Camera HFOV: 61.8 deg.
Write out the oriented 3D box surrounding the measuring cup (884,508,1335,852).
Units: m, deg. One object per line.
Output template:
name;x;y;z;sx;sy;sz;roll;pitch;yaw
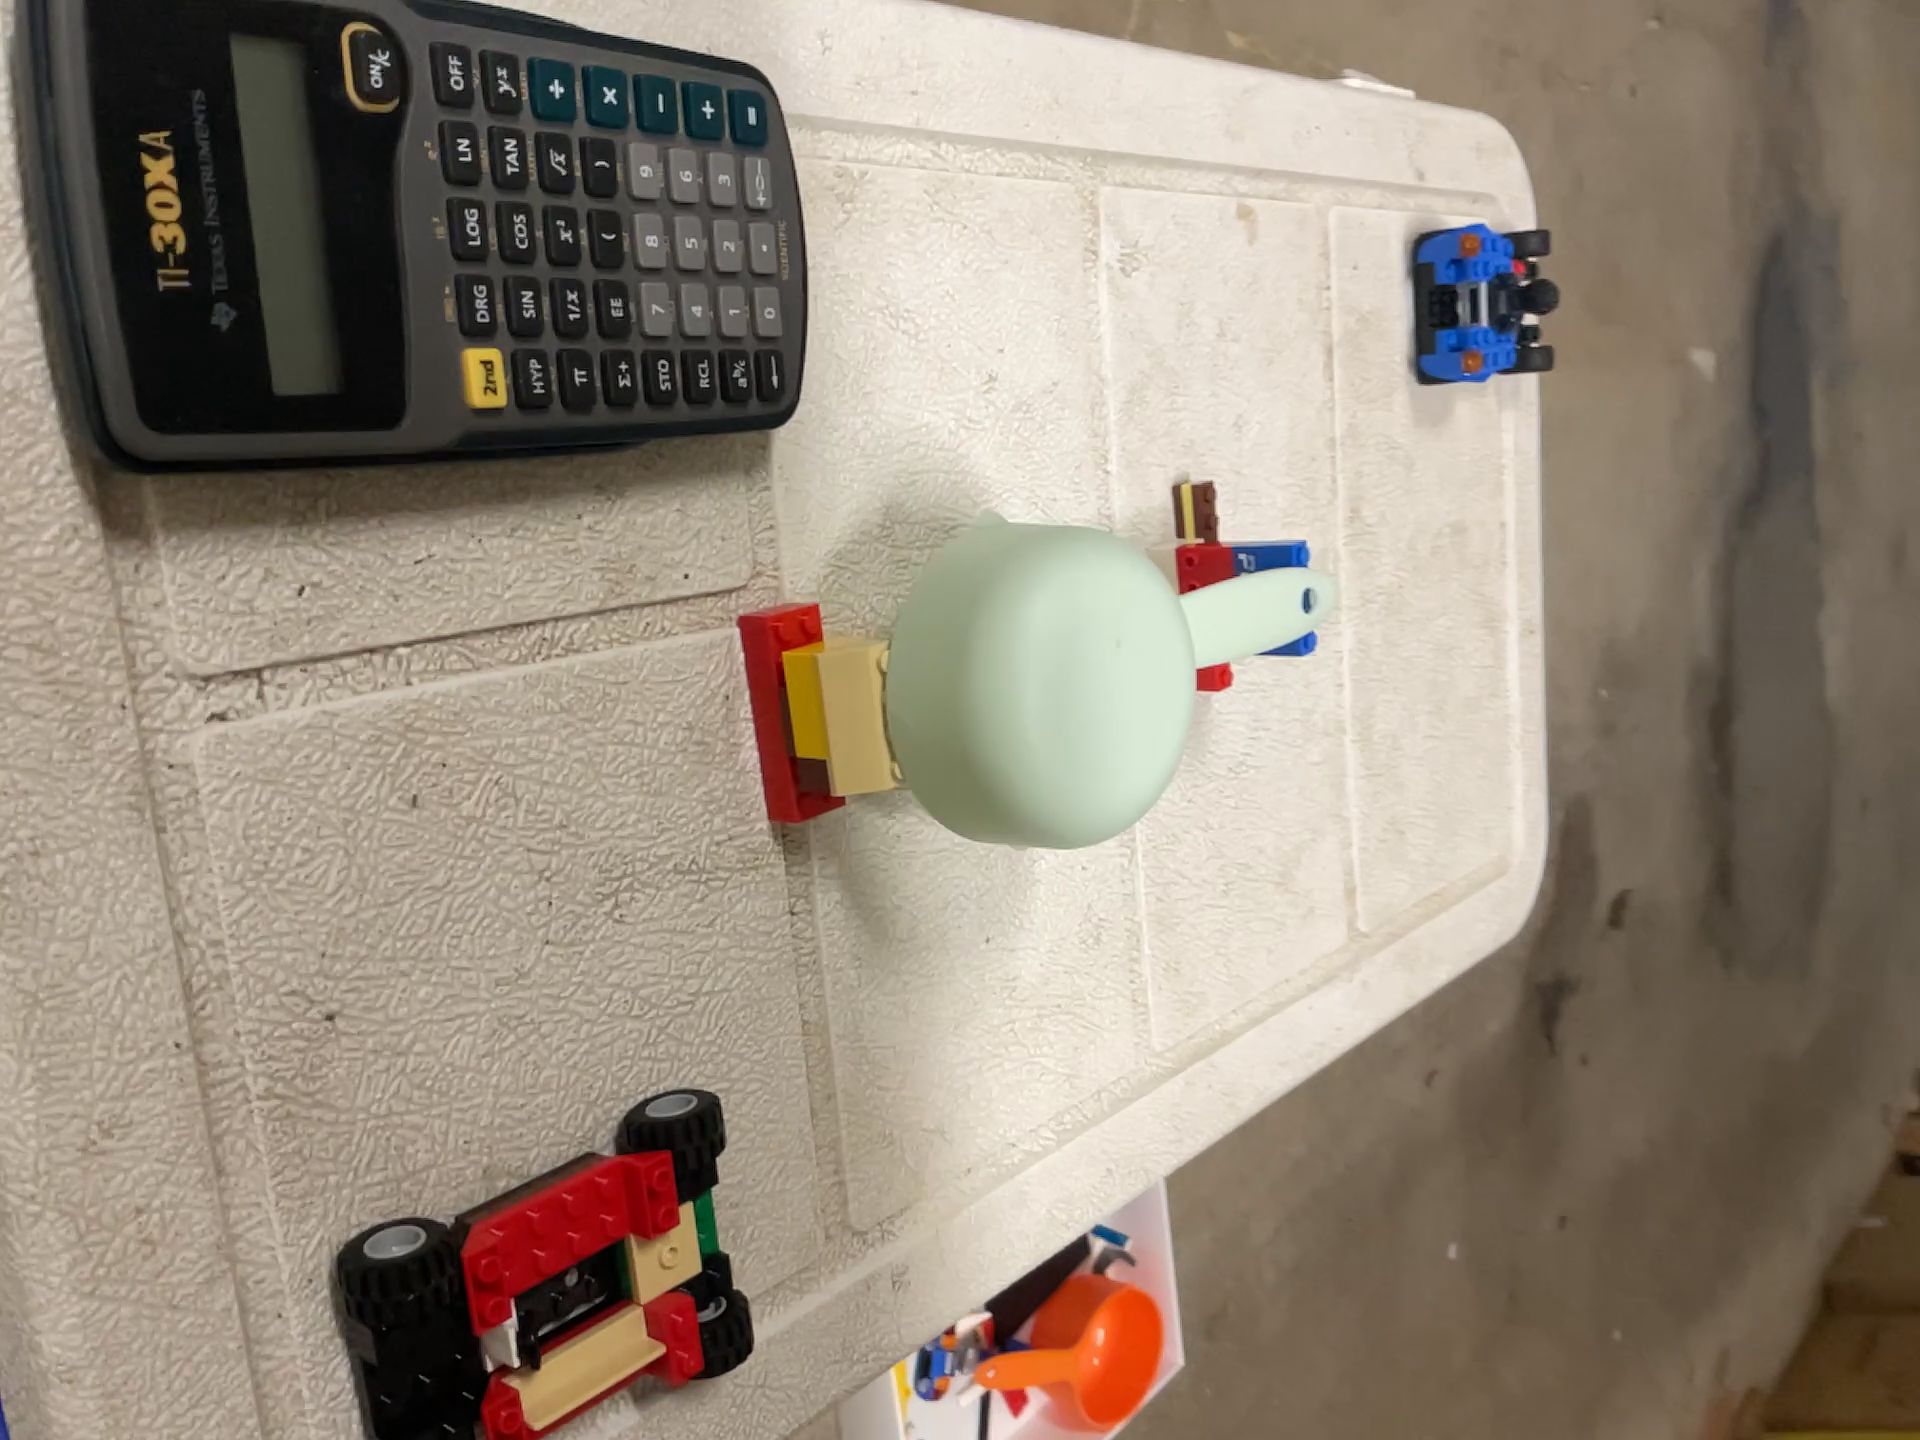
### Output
measuring cup;0.055;-0.017;0.396;0.168;0.038;0.083;-16;105;-40
